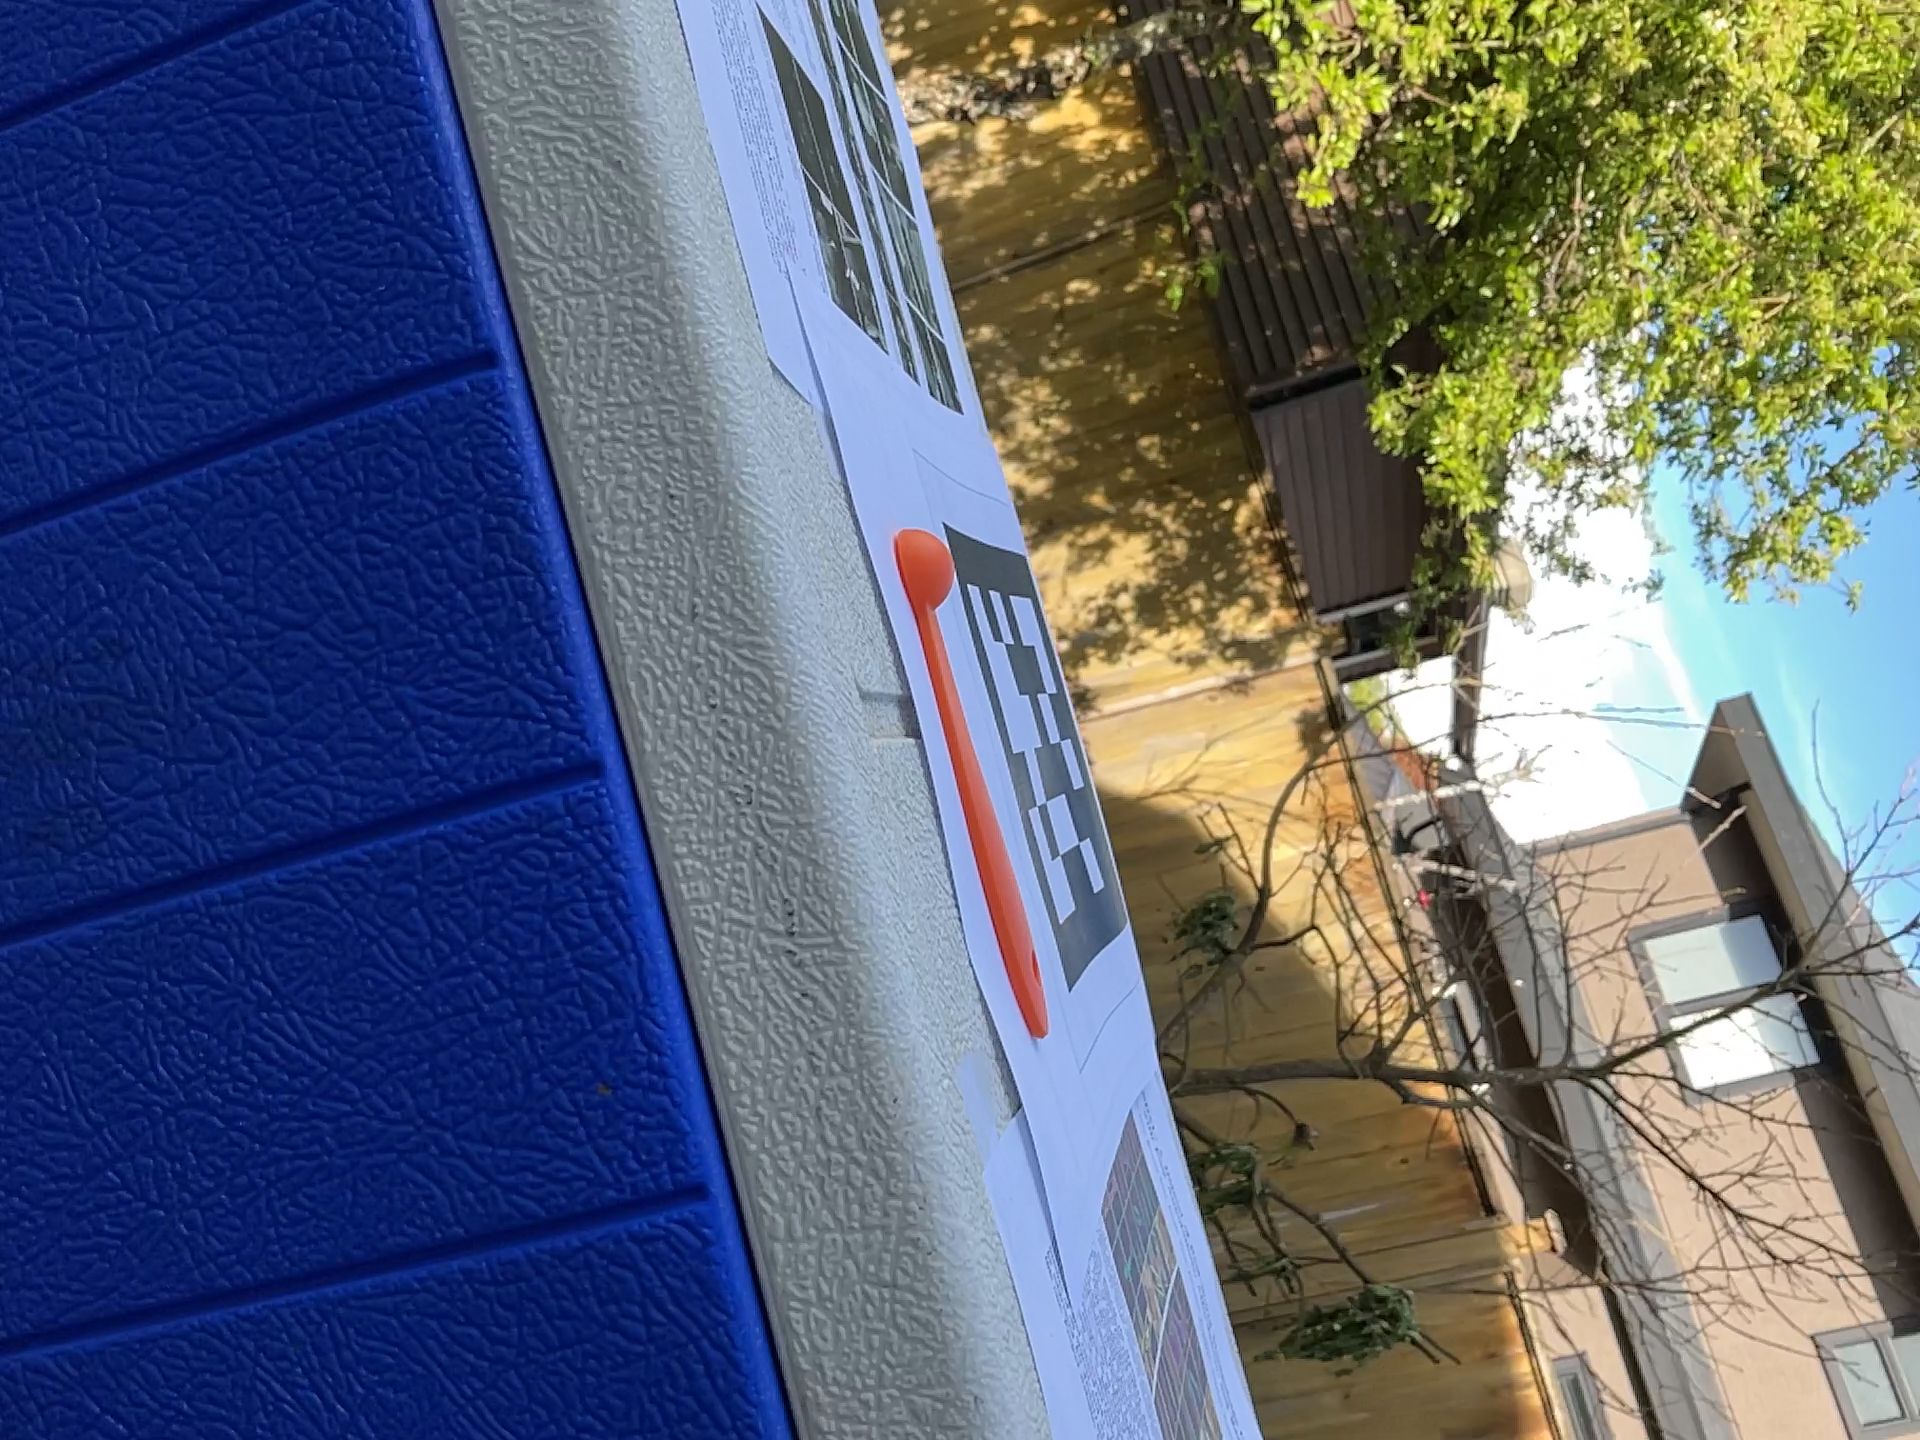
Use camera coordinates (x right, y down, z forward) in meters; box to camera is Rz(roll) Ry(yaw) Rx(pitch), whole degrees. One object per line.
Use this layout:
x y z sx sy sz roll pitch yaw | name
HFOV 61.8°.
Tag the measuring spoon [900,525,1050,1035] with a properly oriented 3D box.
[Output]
0.007 0.013 0.355 0.021 0.011 0.117 -18 94 -75 | measuring spoon
